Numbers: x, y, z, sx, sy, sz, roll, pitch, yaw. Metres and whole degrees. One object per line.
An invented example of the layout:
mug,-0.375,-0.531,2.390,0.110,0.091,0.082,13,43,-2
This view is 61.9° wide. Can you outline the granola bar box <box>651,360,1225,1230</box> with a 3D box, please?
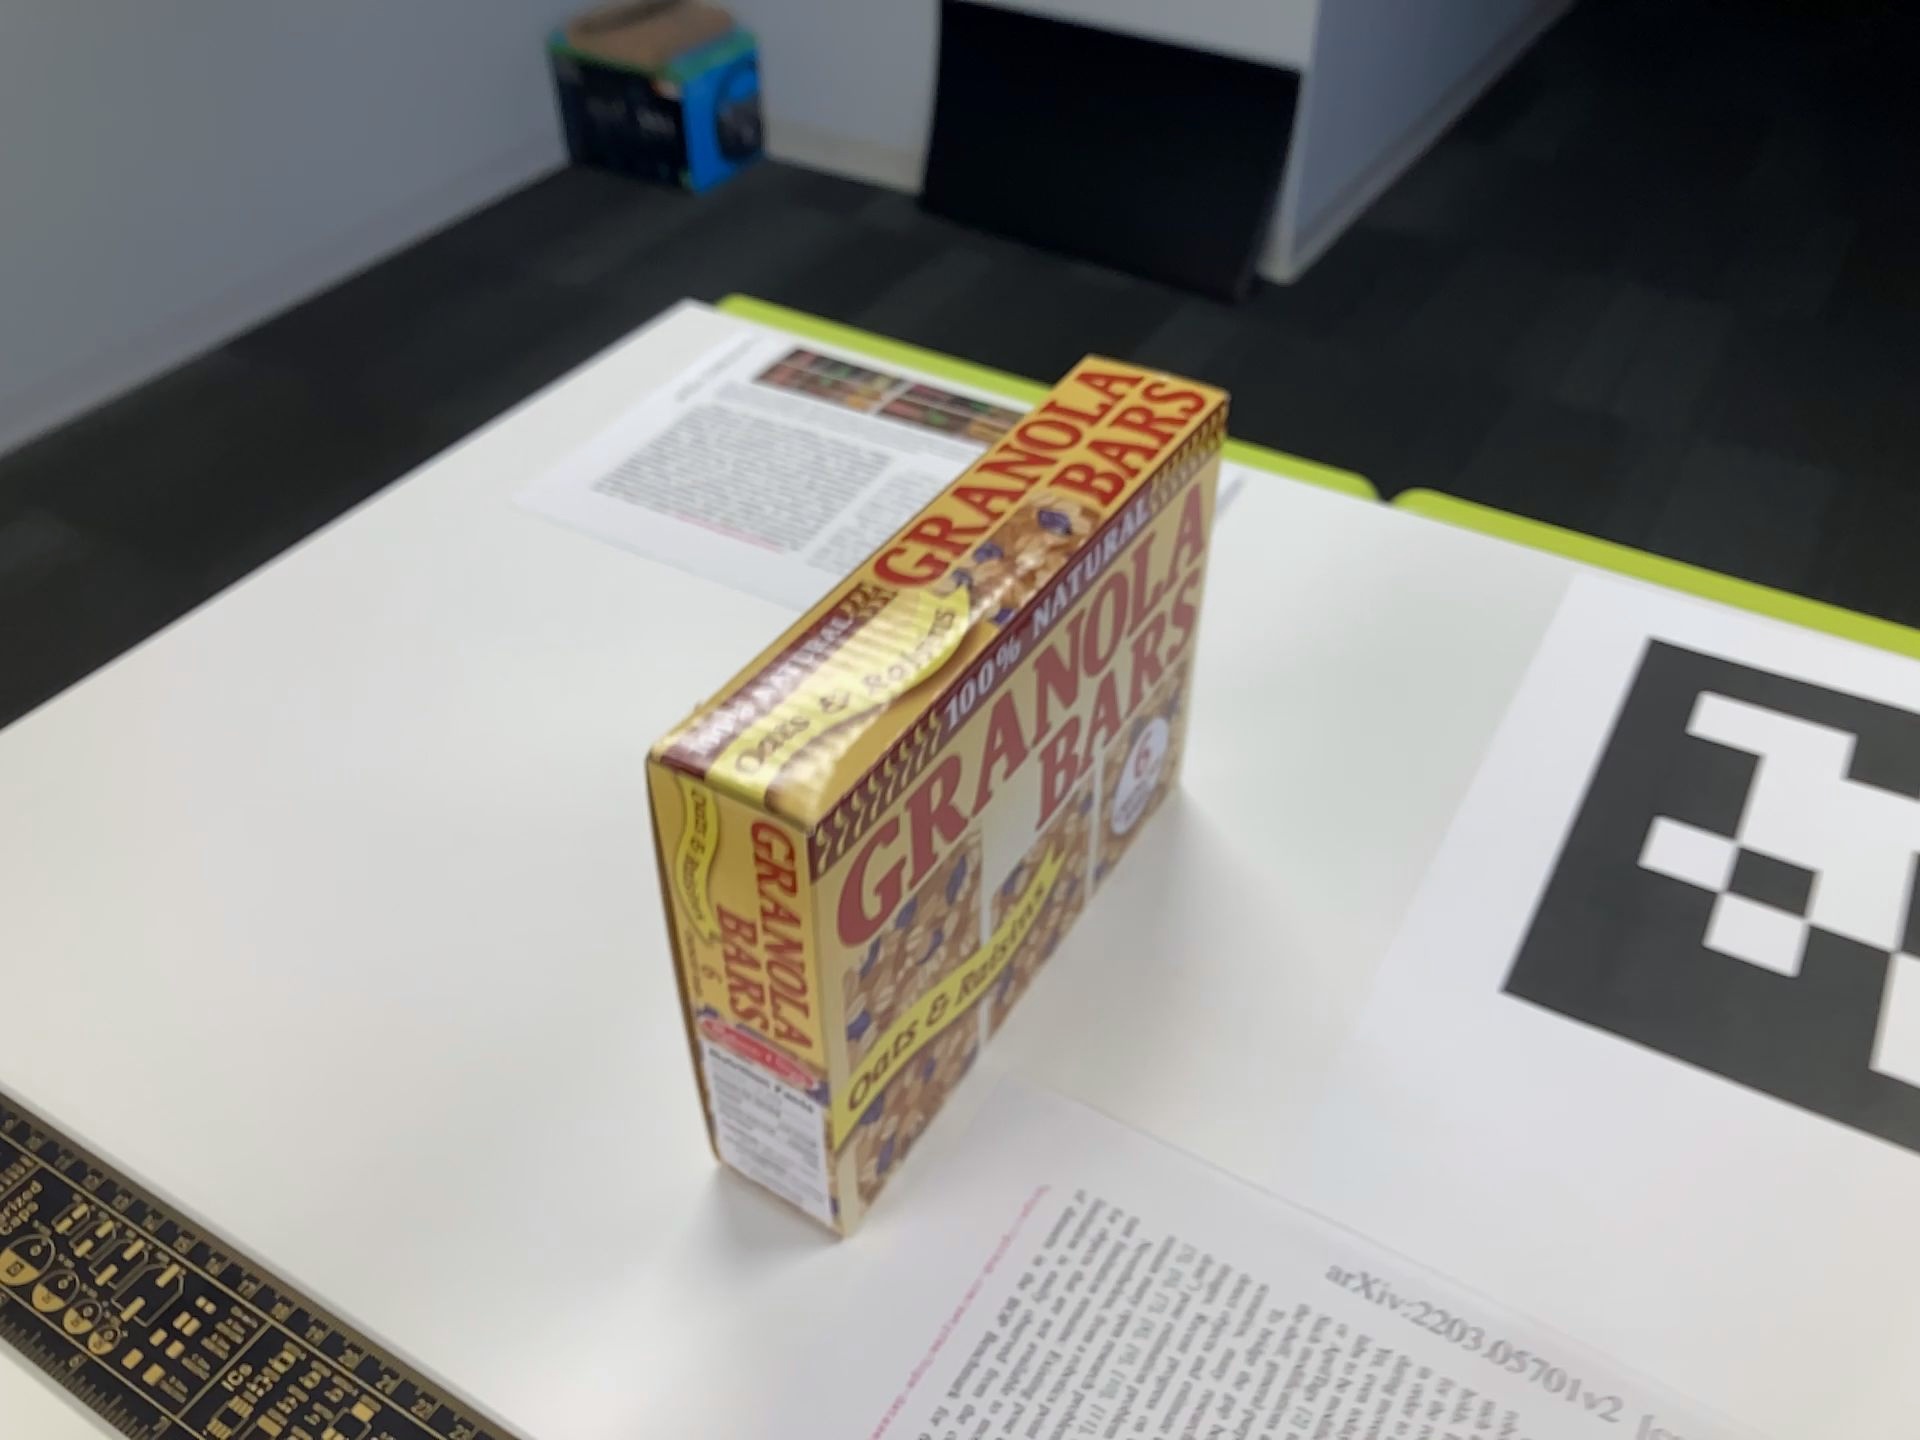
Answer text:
granola bar box,0.002,0.011,0.363,0.039,0.124,0.165,22,46,23
